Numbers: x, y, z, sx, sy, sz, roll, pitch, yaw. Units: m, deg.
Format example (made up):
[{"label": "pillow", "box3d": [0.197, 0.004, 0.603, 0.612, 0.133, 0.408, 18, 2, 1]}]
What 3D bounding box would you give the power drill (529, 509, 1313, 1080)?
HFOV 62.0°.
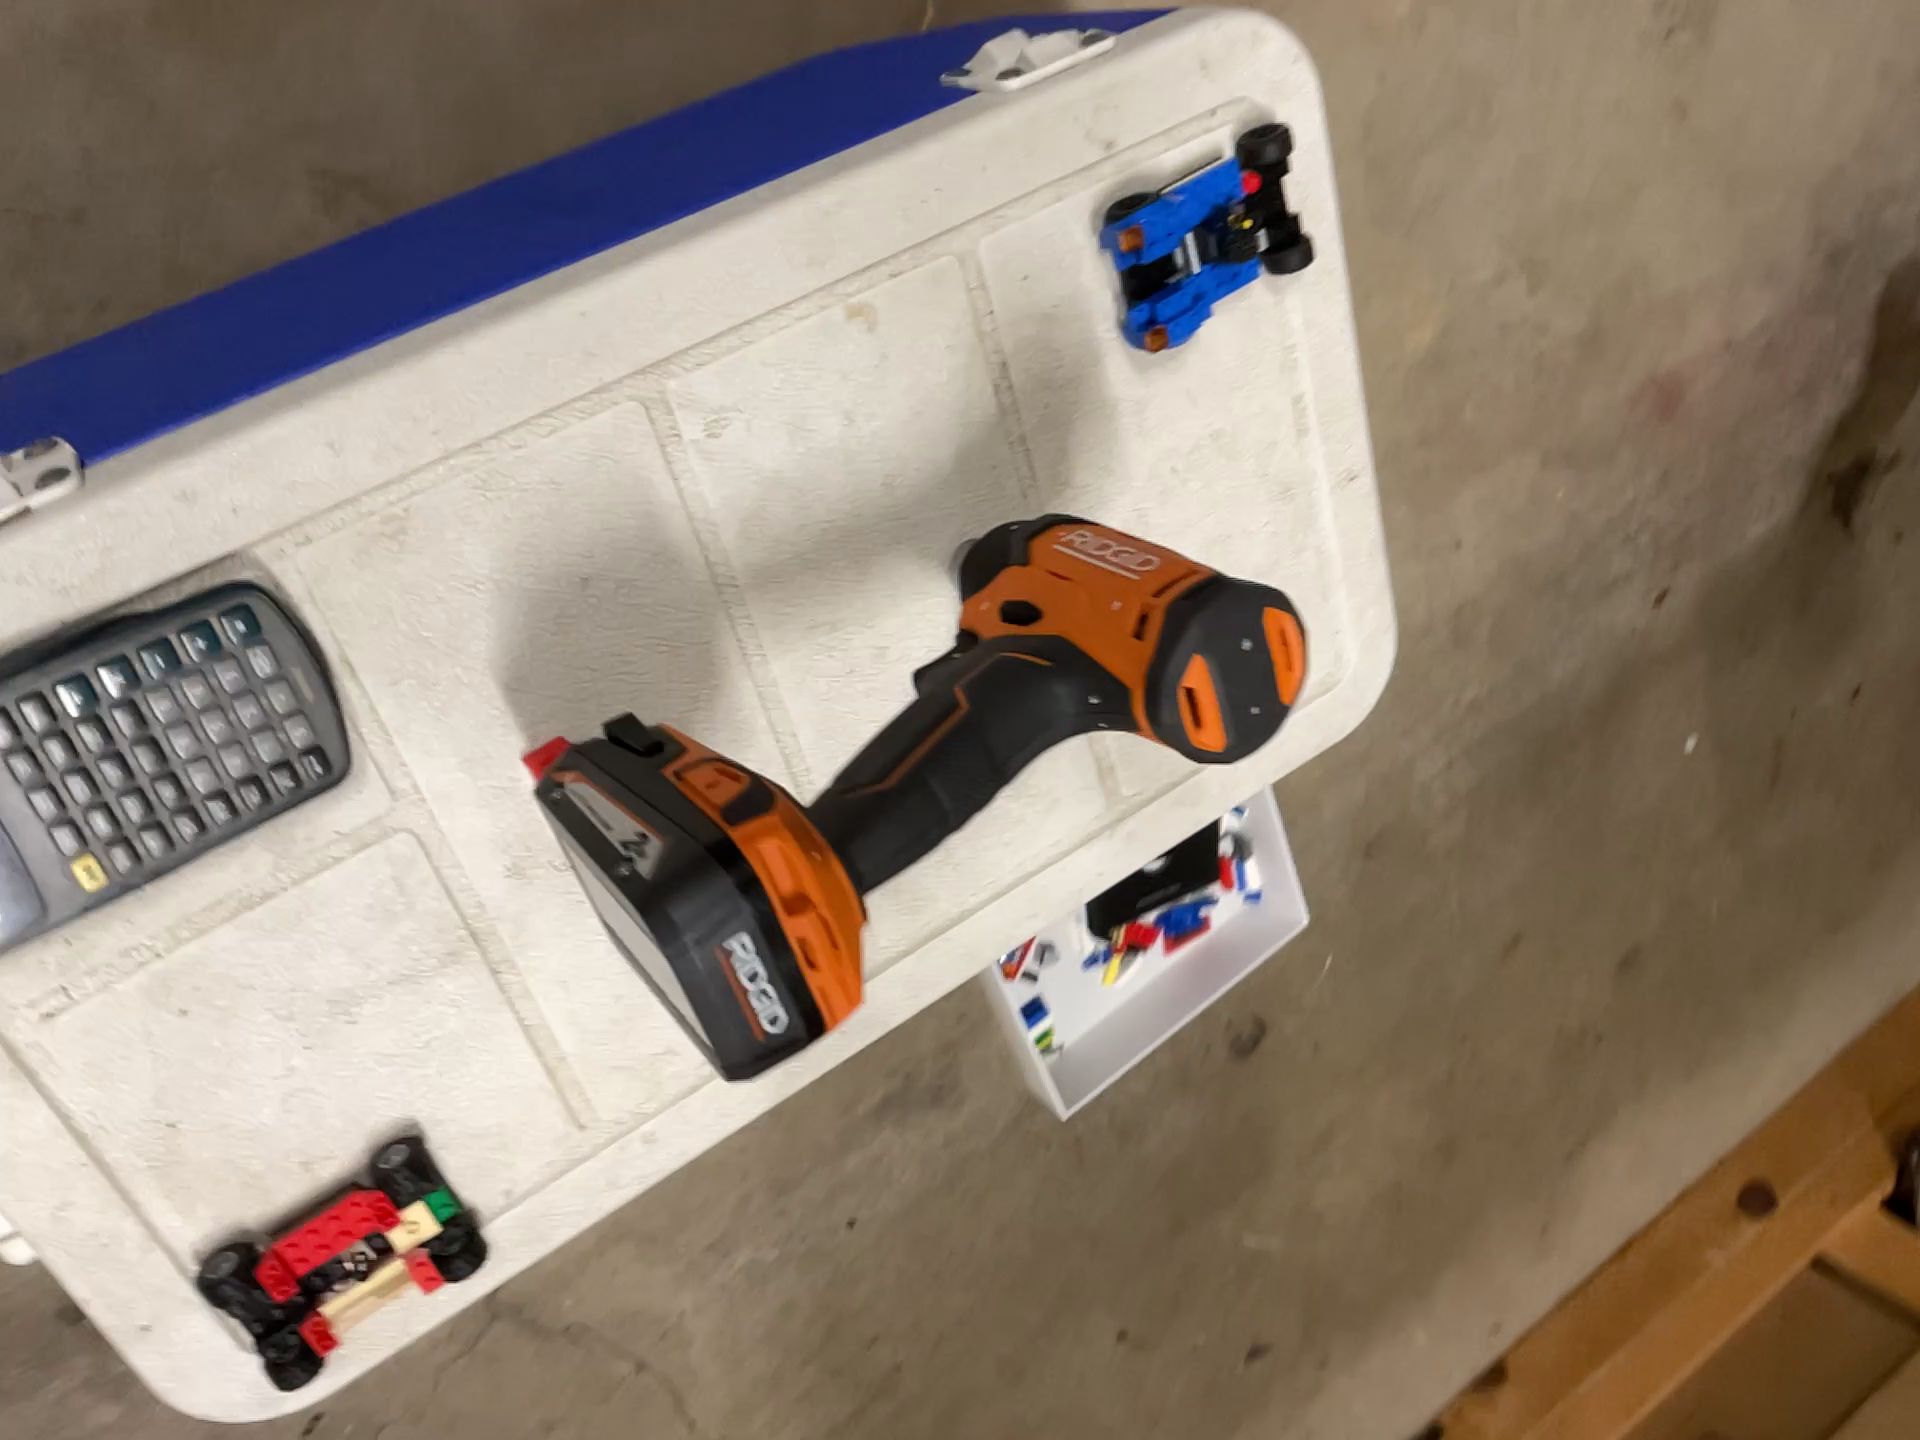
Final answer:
[{"label": "power drill", "box3d": [-0.019, 0.003, 0.531, 0.226, 0.164, 0.084, -31, 123, -19]}]
